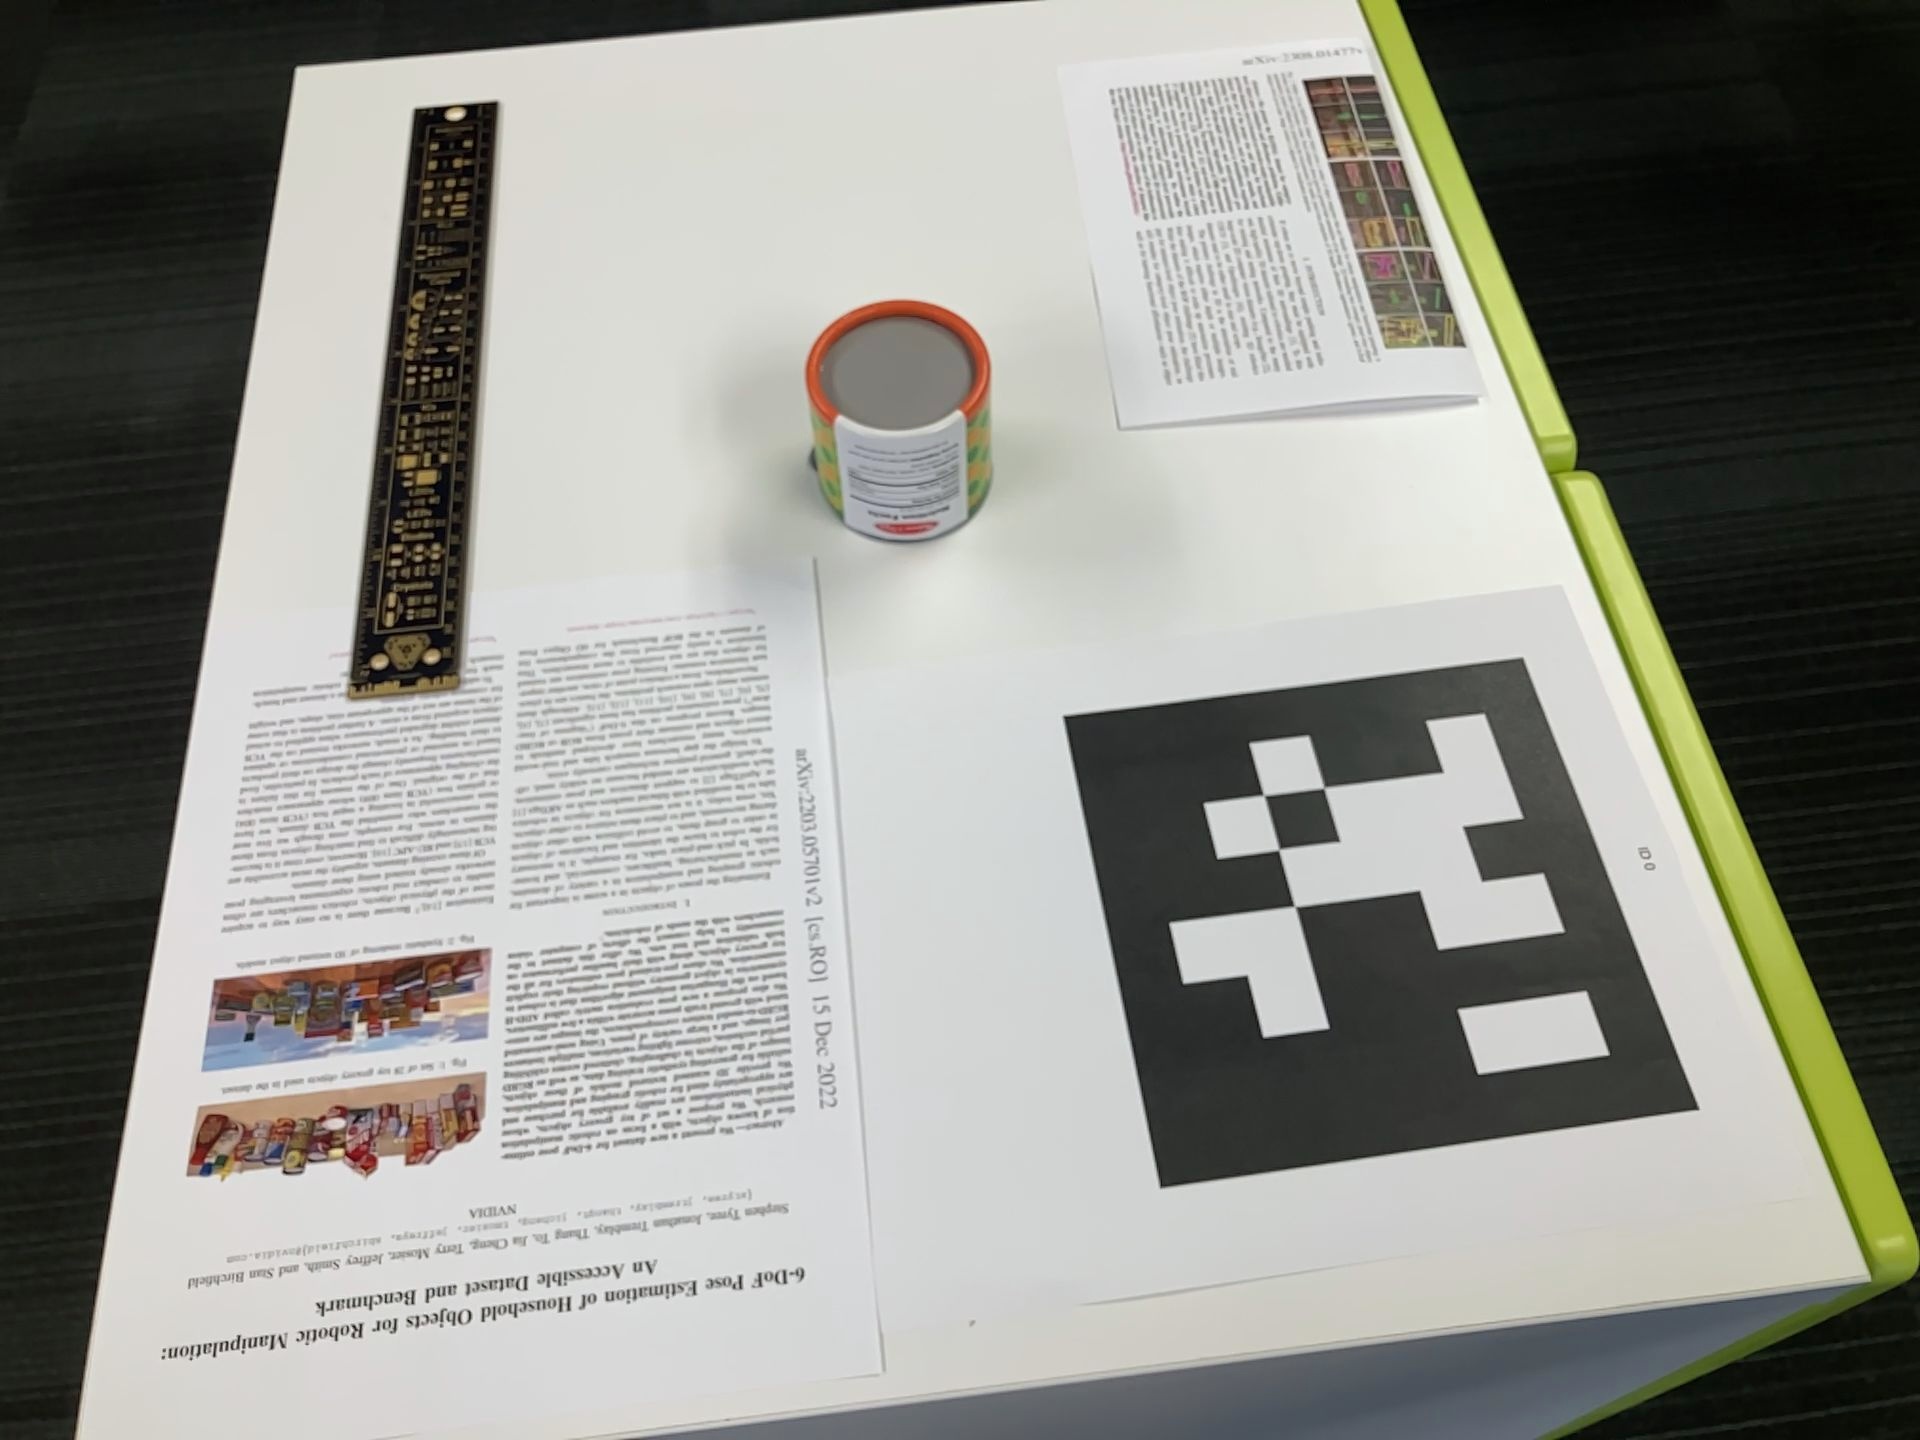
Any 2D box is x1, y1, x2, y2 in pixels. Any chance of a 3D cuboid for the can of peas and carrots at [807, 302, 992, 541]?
[{"bbox_3d":[-0.022,-0.112,0.584,0.071,0.059,0.071,0,58,0],"label":"can of peas and carrots"}]
